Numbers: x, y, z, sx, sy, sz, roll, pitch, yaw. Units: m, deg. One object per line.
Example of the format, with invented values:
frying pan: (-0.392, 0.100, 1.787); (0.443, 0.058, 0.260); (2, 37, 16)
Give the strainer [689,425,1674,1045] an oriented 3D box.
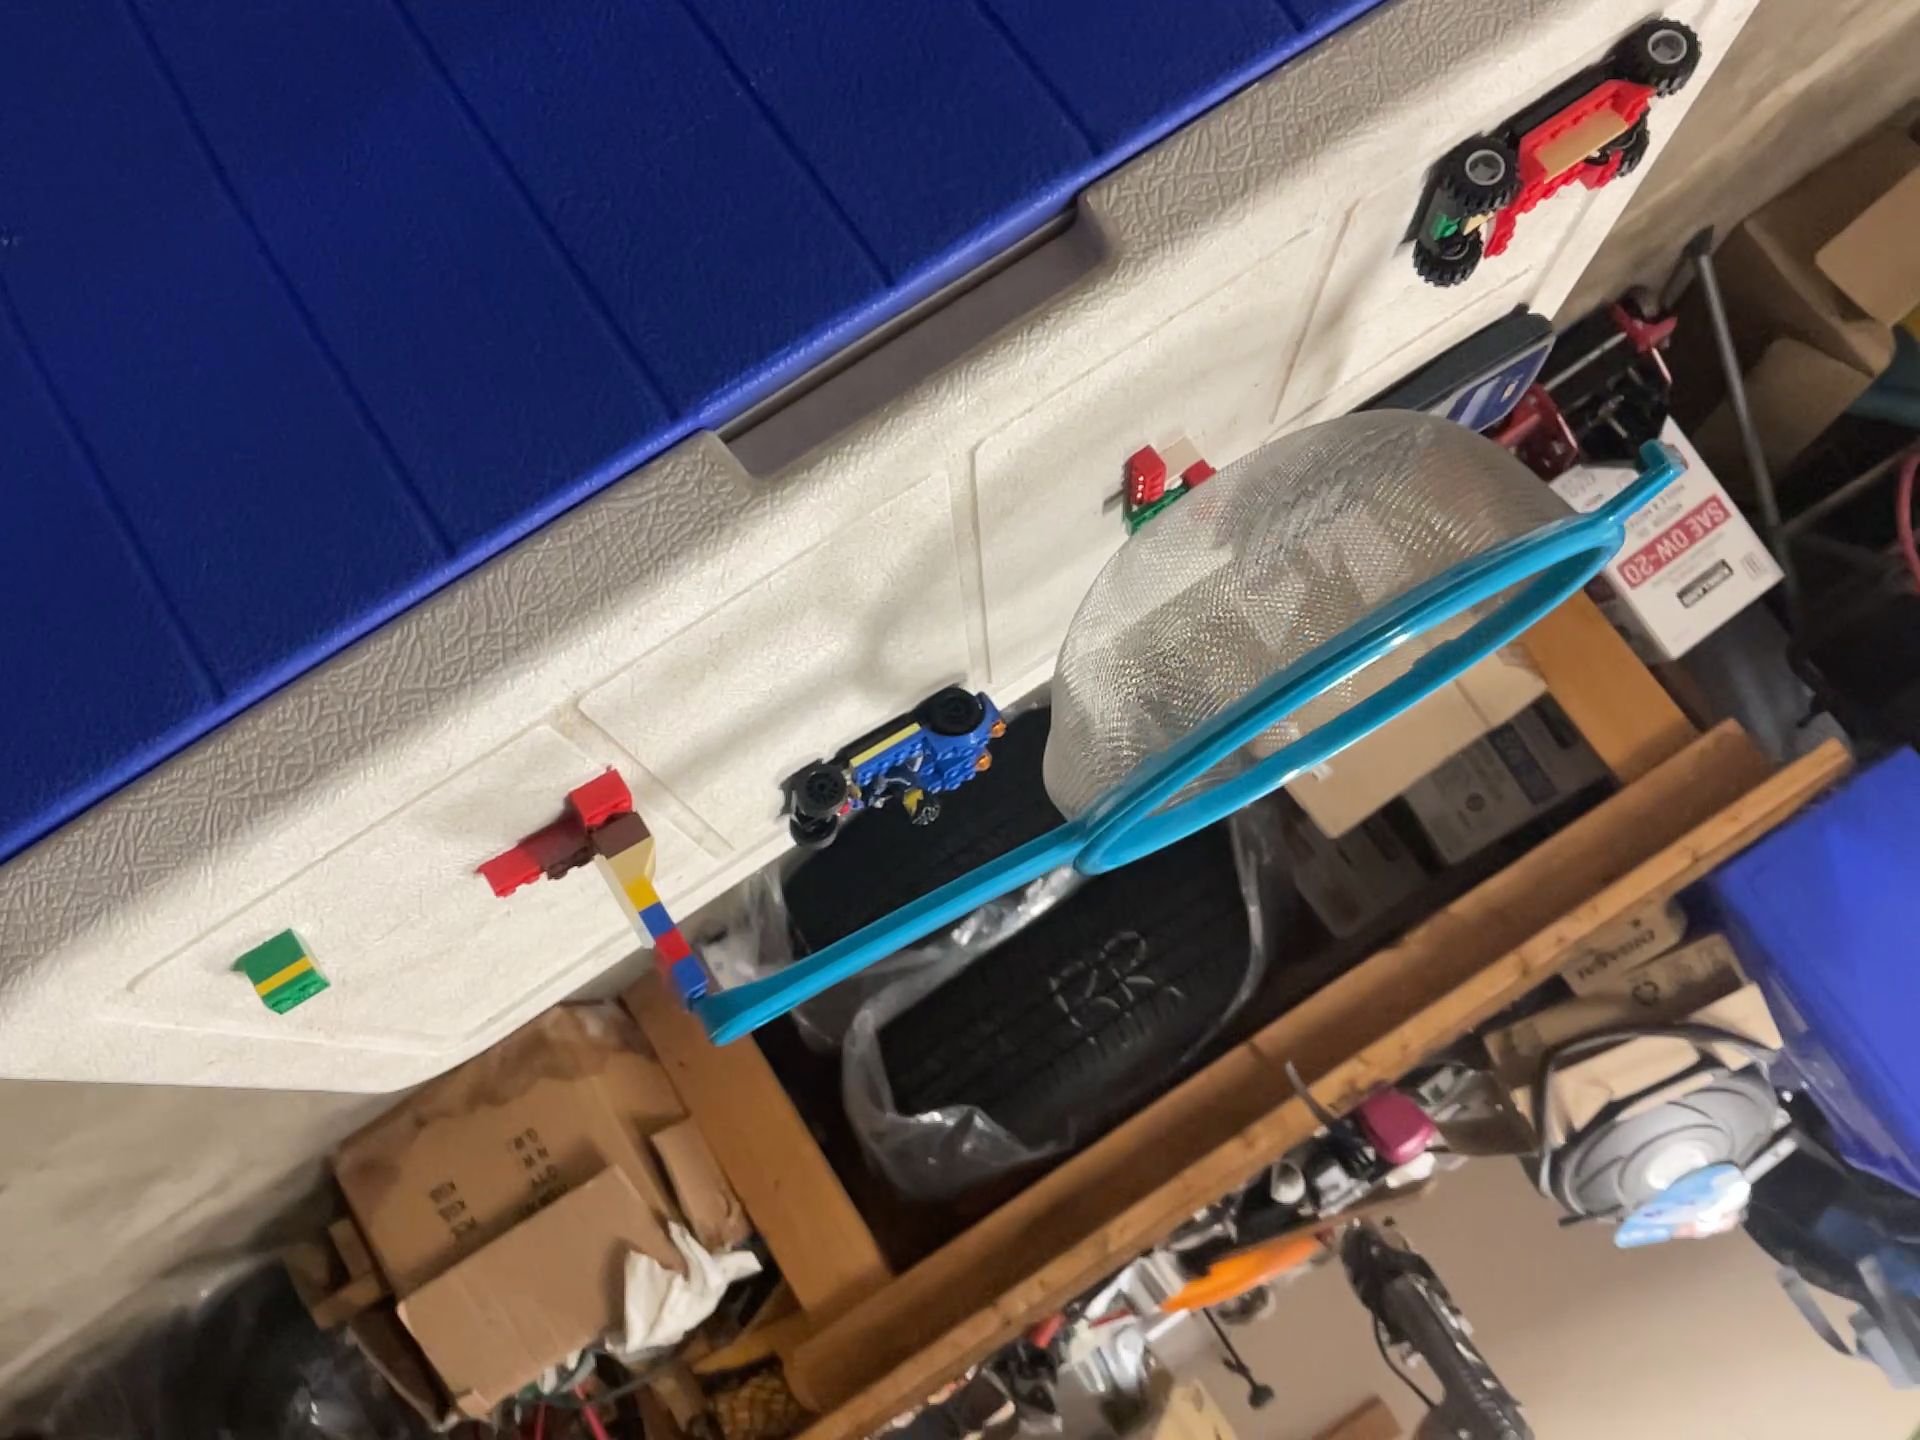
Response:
strainer: (0.051, -0.009, 0.538); (0.340, 0.095, 0.211); (-26, 167, -12)
